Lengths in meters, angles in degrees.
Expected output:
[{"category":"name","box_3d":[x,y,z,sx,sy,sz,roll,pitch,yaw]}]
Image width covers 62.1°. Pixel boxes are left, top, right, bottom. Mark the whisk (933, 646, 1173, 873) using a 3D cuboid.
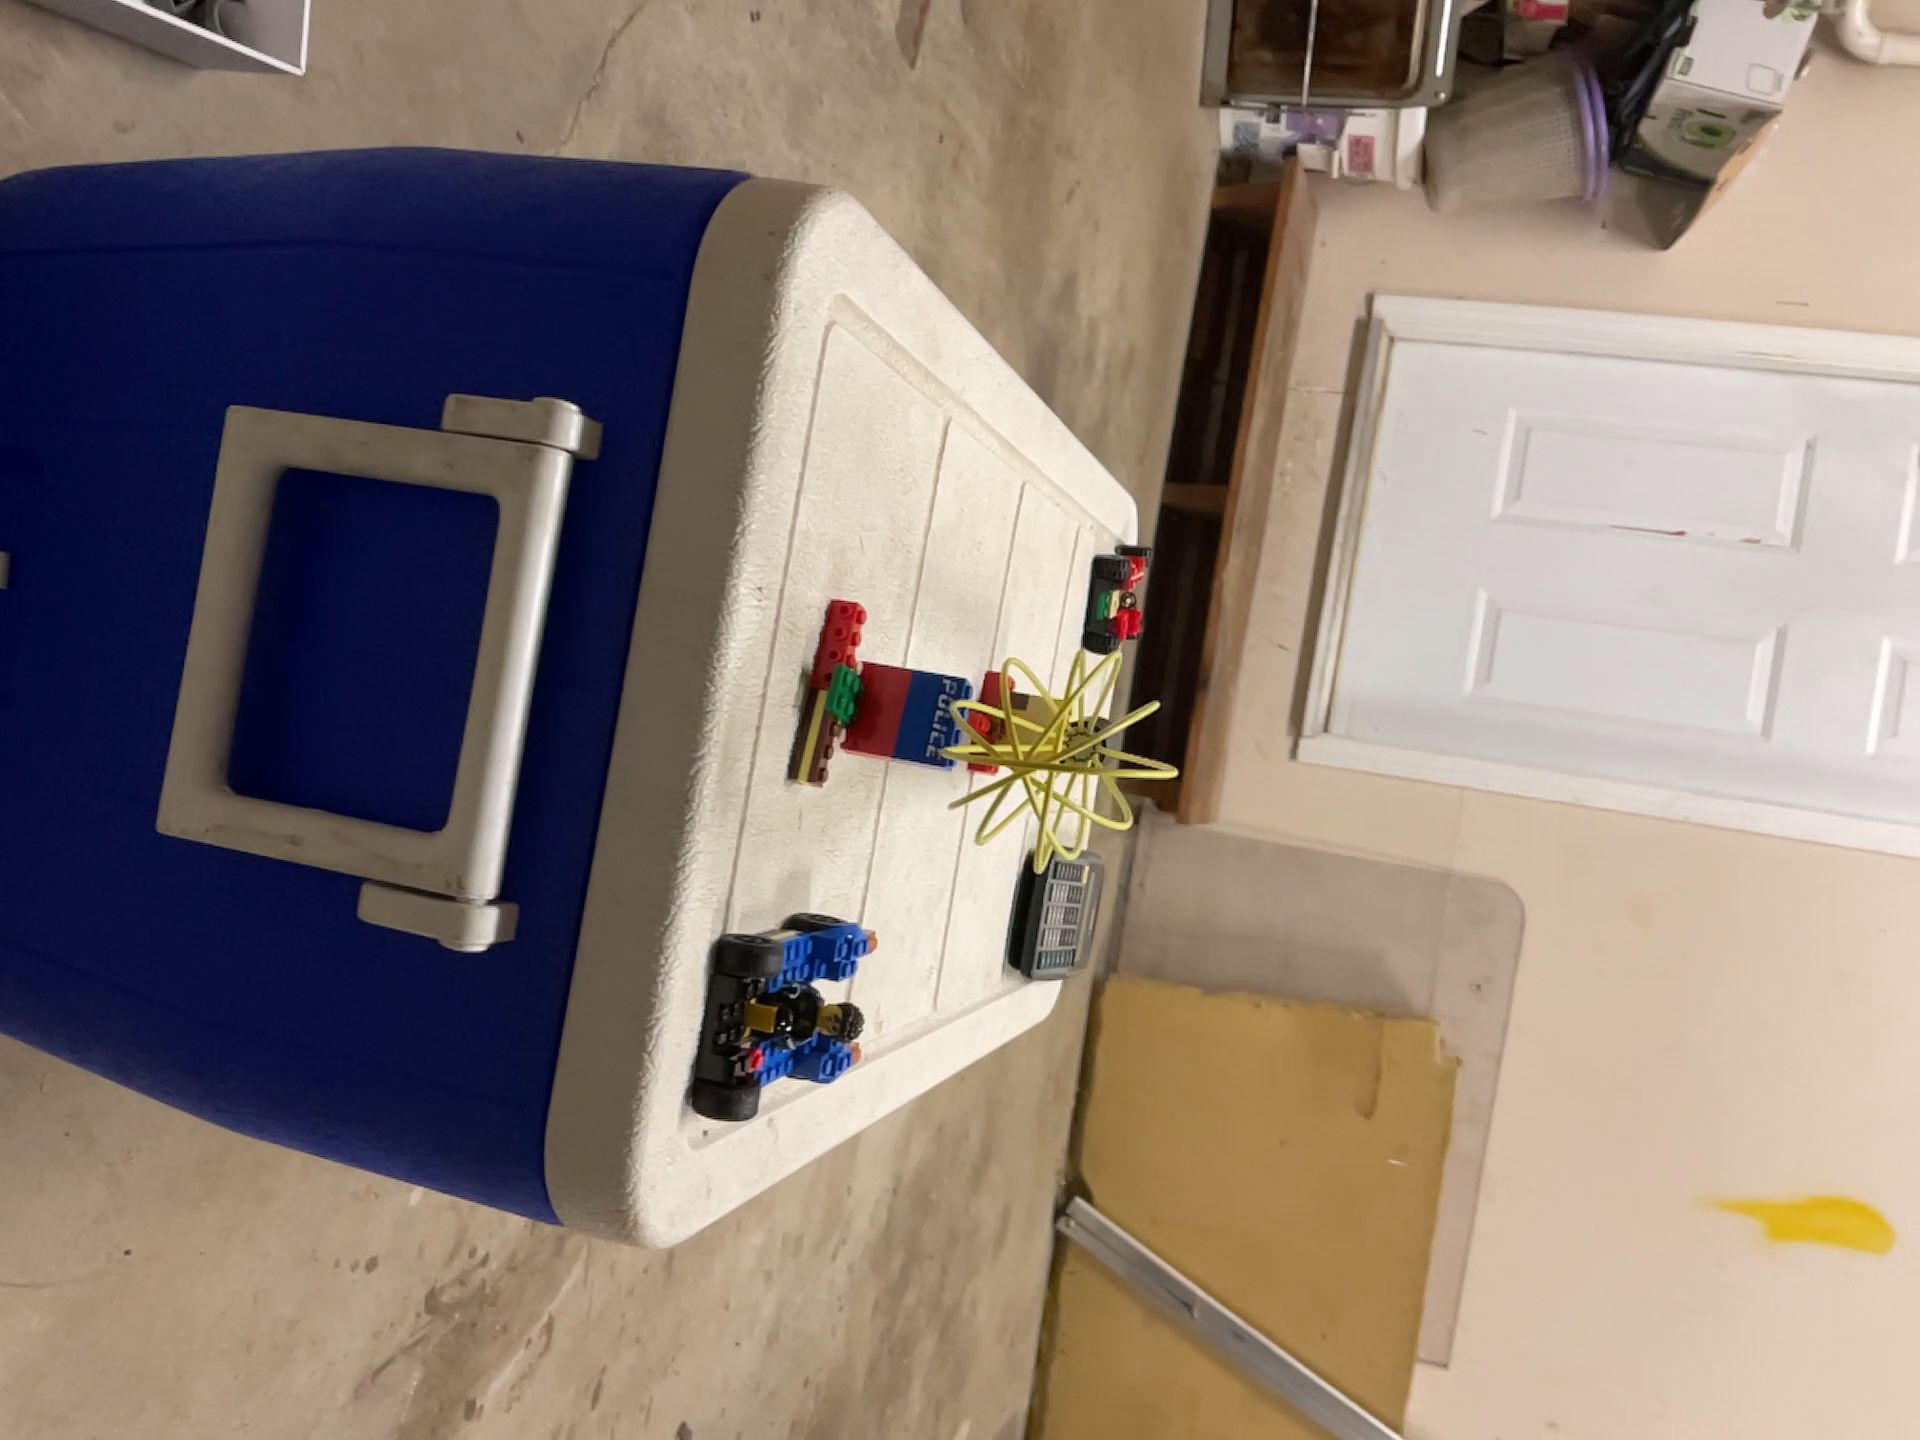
[{"category":"whisk","box_3d":[0.043,0.010,0.618,0.080,0.067,0.311,-35,176,7]}]
